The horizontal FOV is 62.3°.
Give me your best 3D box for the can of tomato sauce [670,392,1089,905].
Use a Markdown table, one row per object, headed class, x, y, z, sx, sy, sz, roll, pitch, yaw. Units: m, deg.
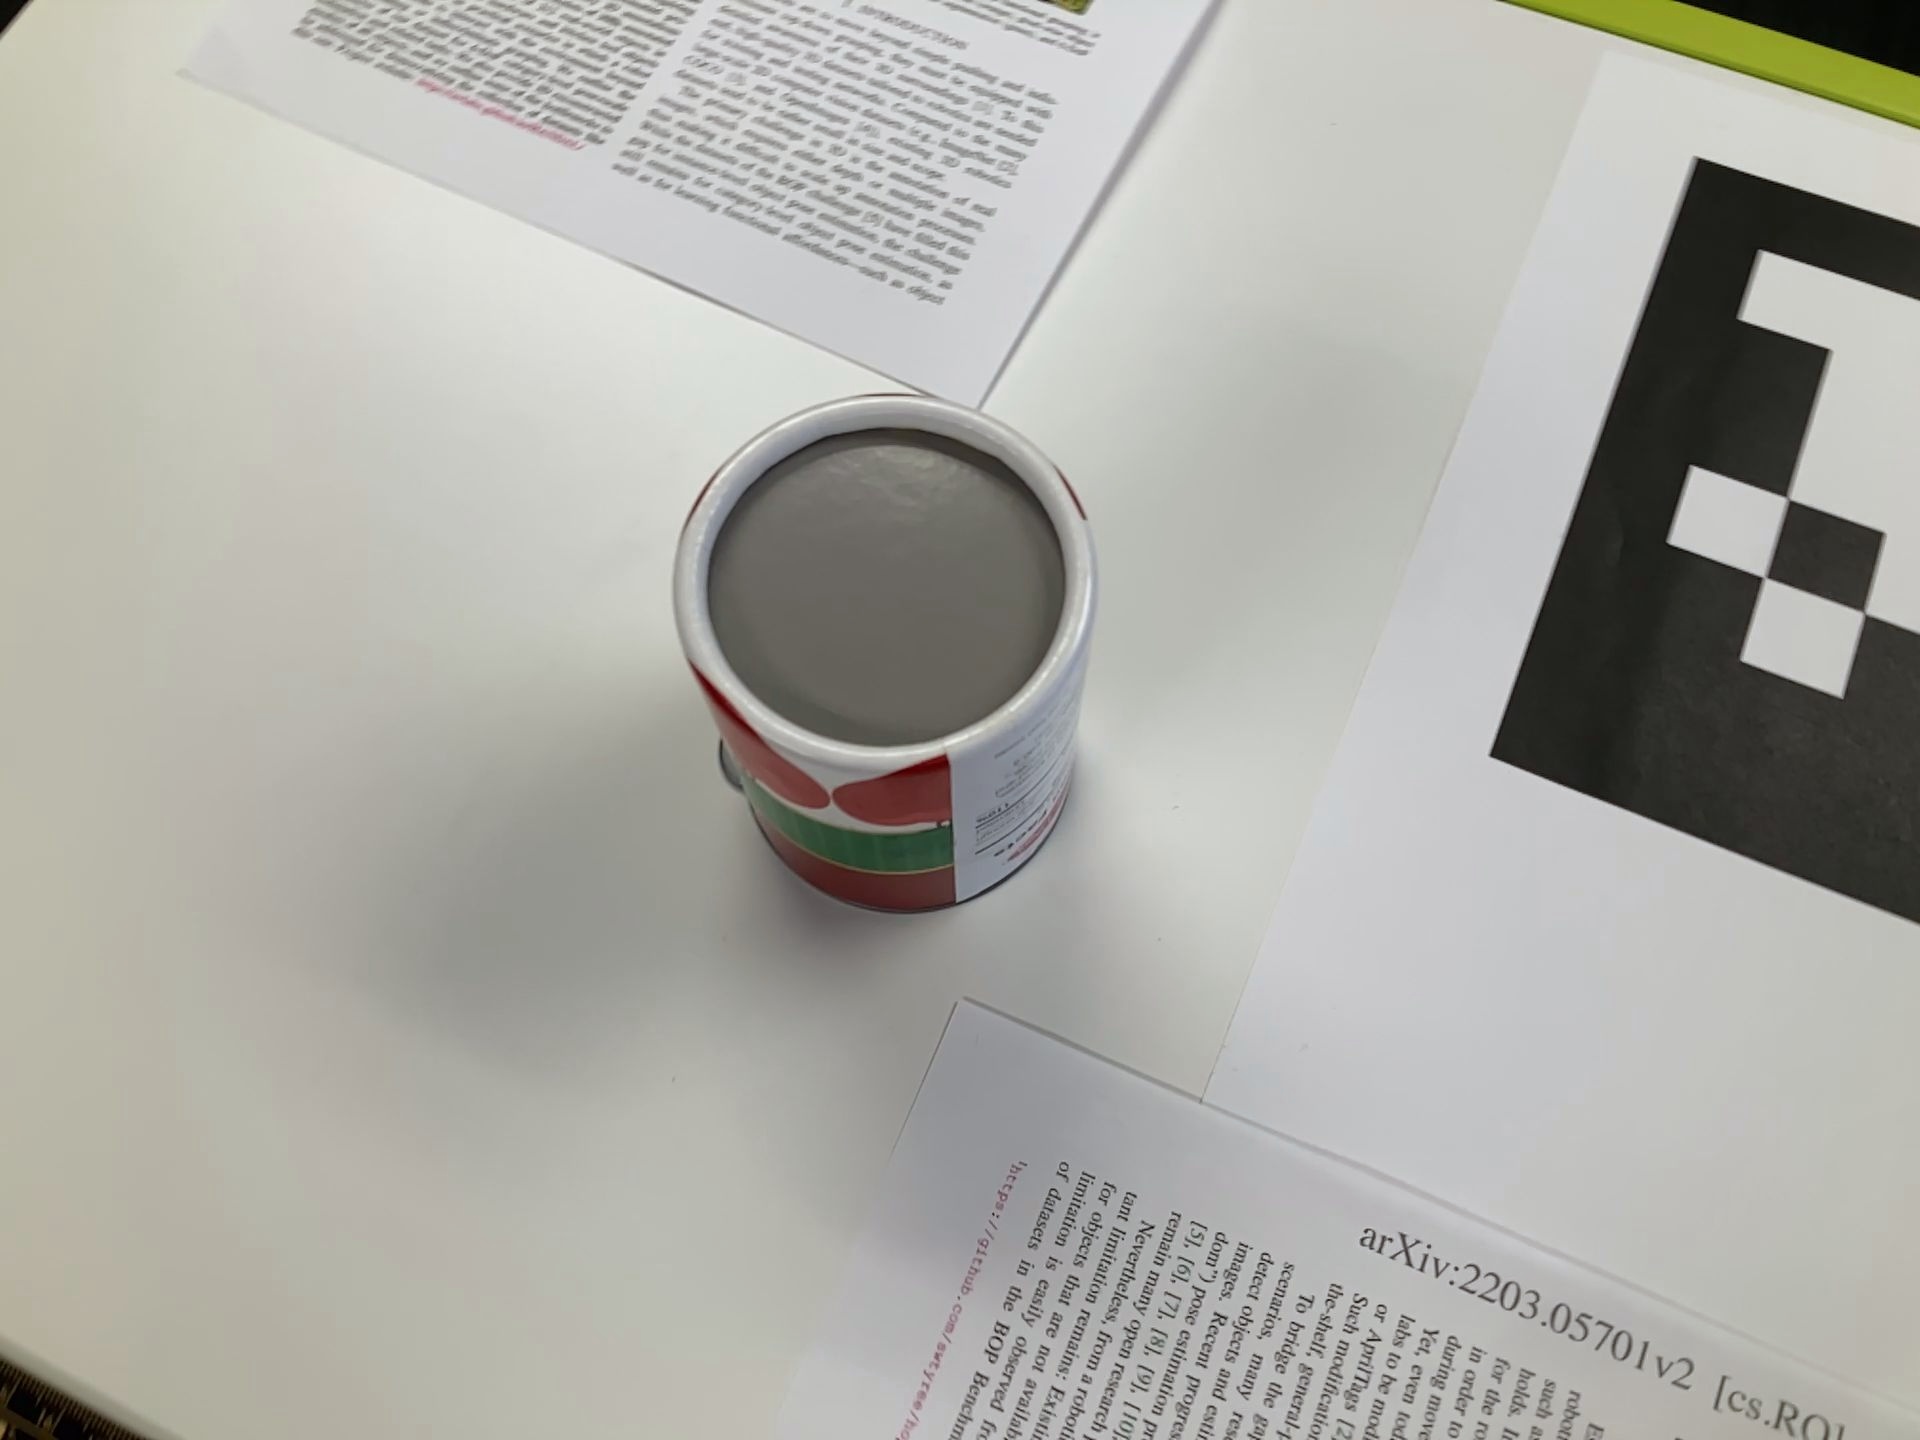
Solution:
| class | x | y | z | sx | sy | sz | roll | pitch | yaw |
| --- | --- | --- | --- | --- | --- | --- | --- | --- | --- |
| can of tomato sauce | -0.013 | -0.010 | 0.283 | 0.071 | 0.083 | 0.071 | -1 | 70 | 2 |
